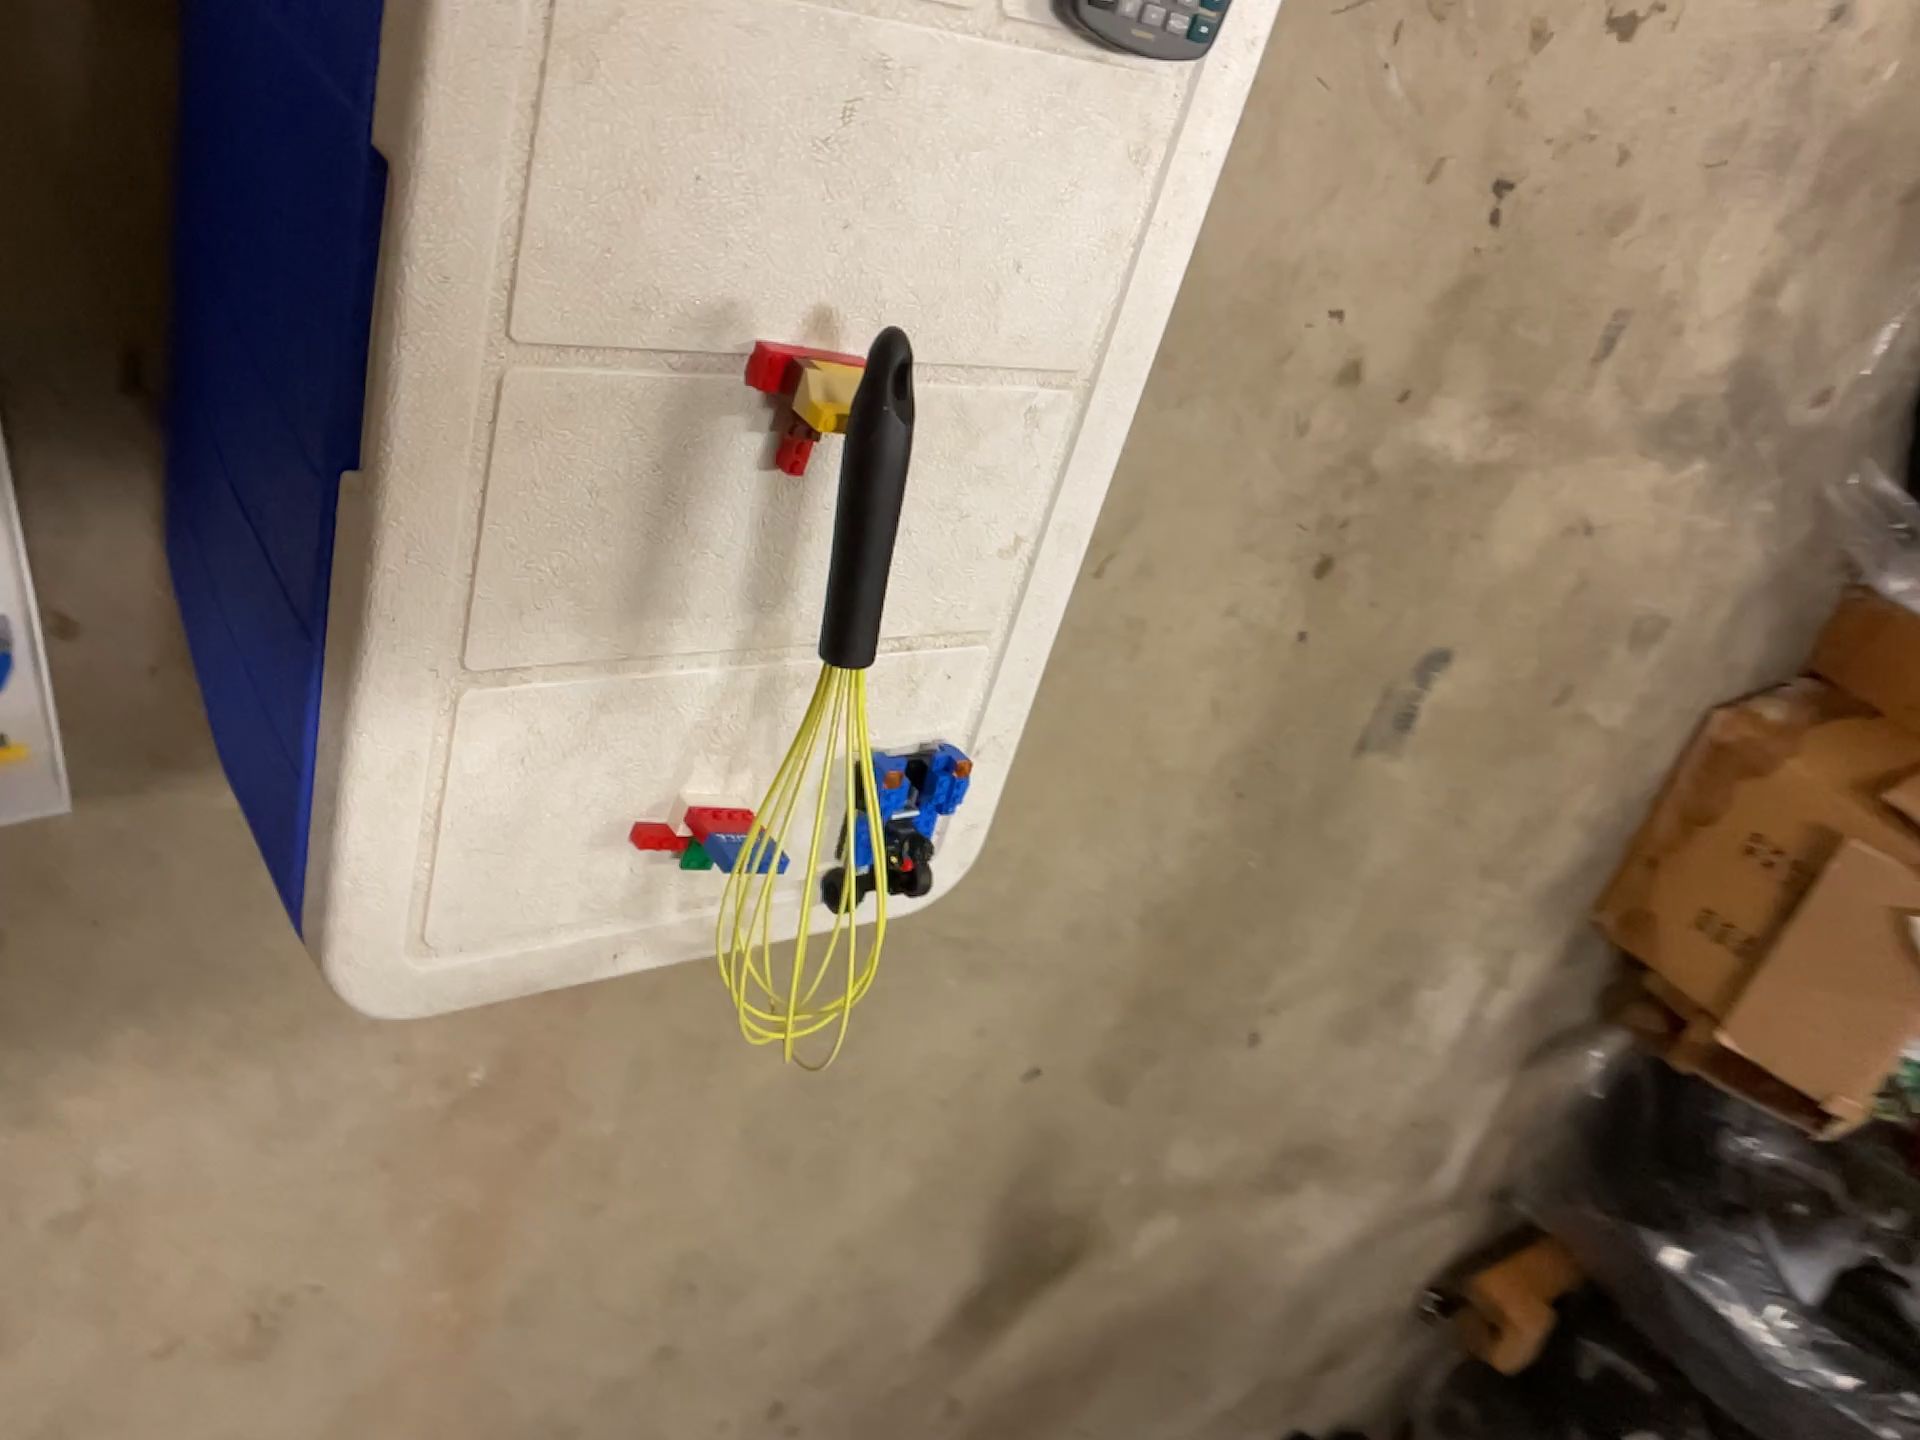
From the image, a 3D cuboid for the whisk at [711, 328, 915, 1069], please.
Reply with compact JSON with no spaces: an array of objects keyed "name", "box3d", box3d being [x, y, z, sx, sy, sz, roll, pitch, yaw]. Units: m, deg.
[{"name":"whisk","box3d":[-0.050,0.002,0.621,0.080,0.067,0.311,-70,171,-65]}]
